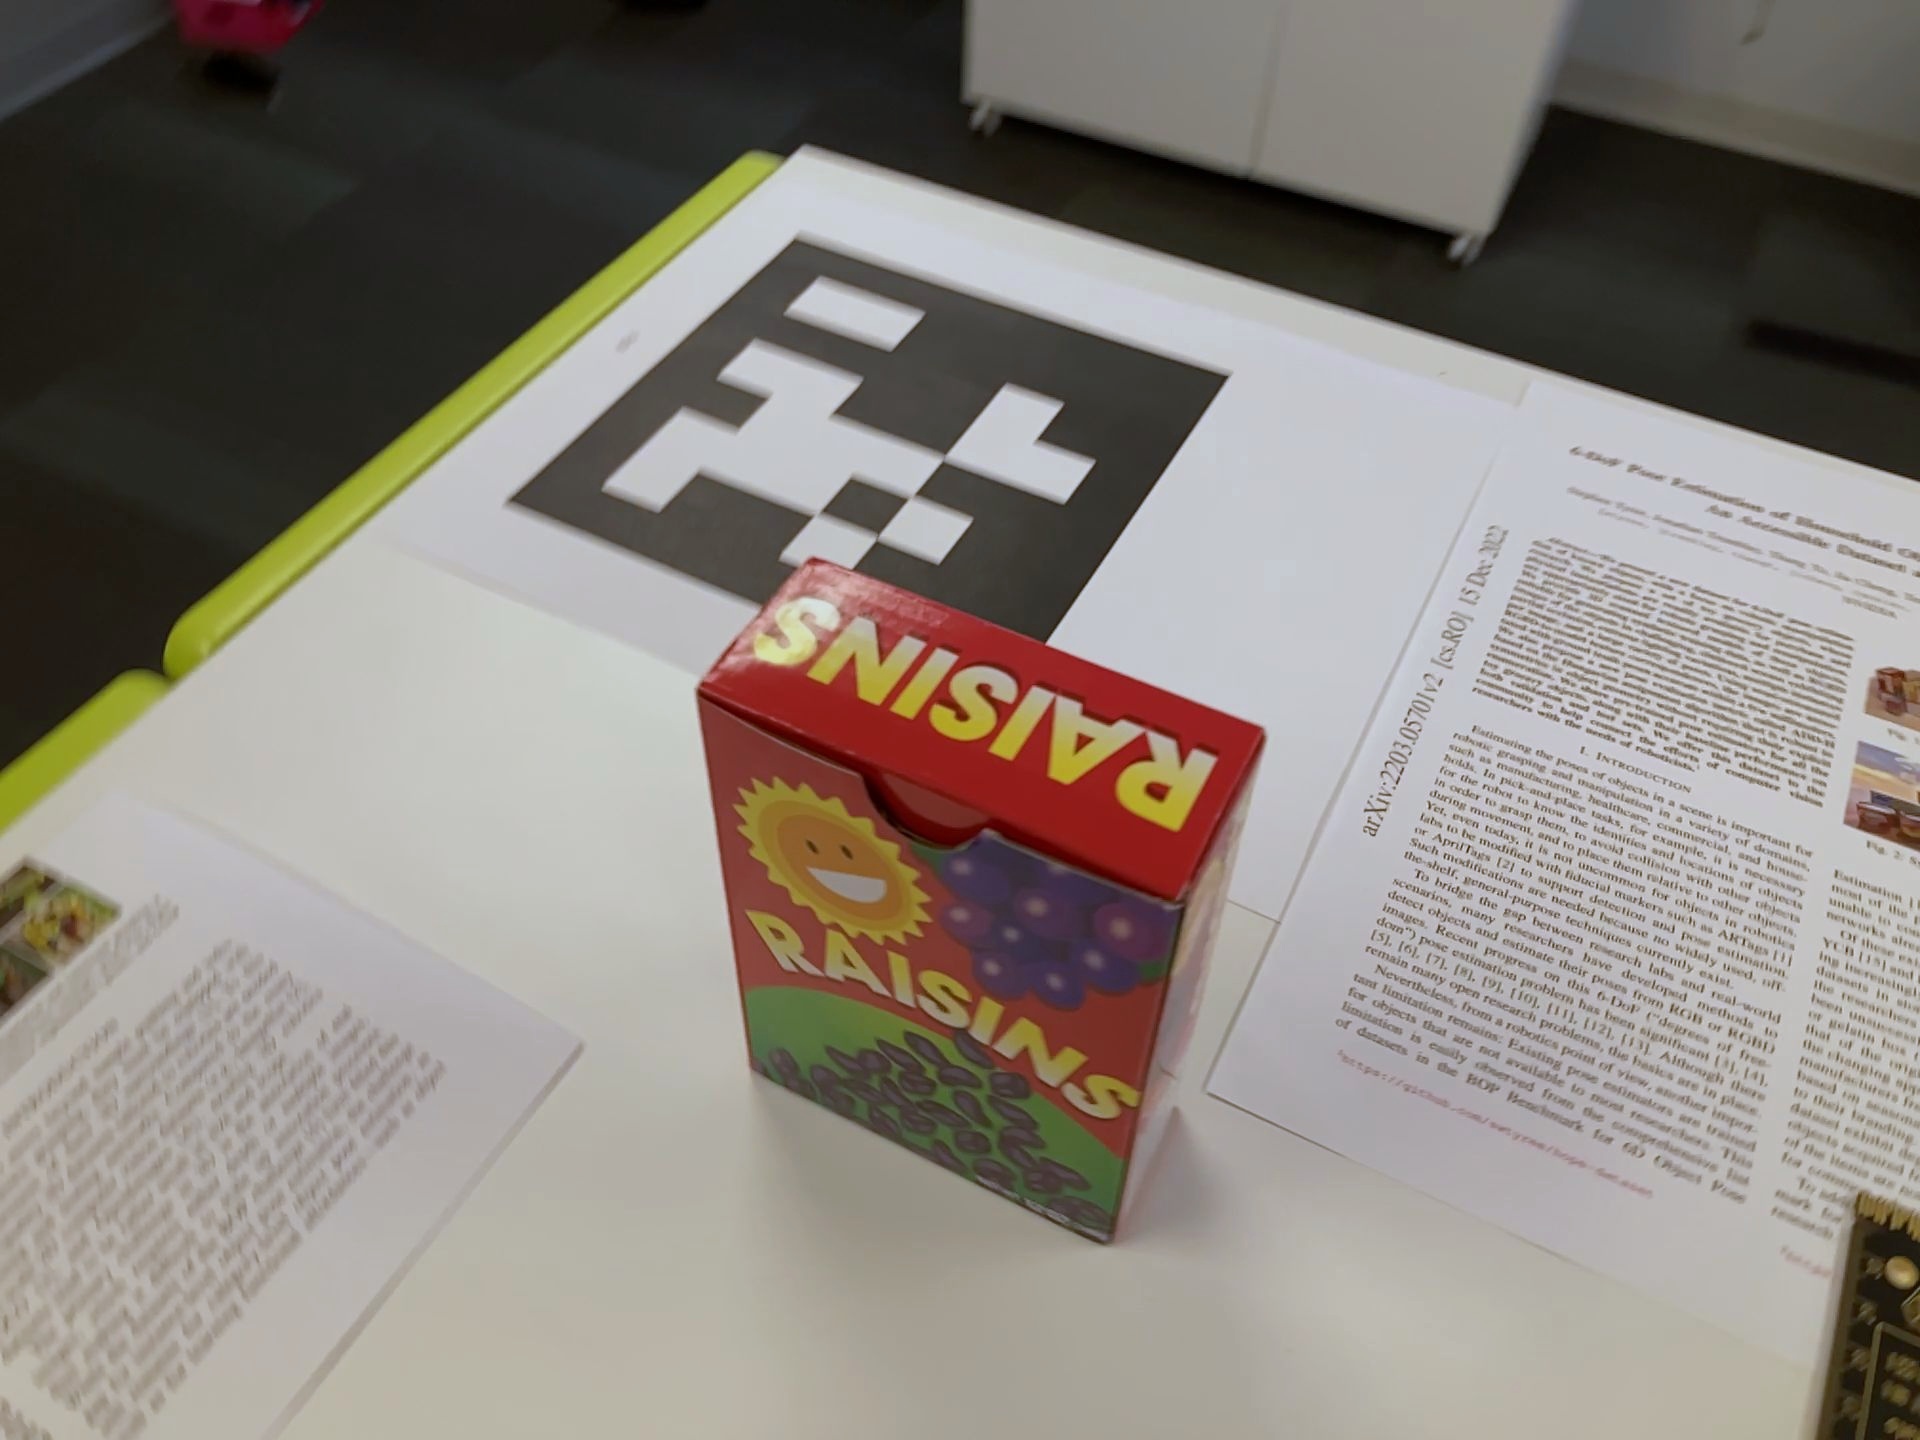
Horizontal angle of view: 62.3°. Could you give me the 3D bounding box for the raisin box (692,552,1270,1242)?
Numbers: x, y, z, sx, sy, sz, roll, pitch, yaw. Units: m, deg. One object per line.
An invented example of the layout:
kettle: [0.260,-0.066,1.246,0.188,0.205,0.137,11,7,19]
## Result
raisin box: [0.001,0.037,0.291,0.086,0.123,0.040,23,52,17]
